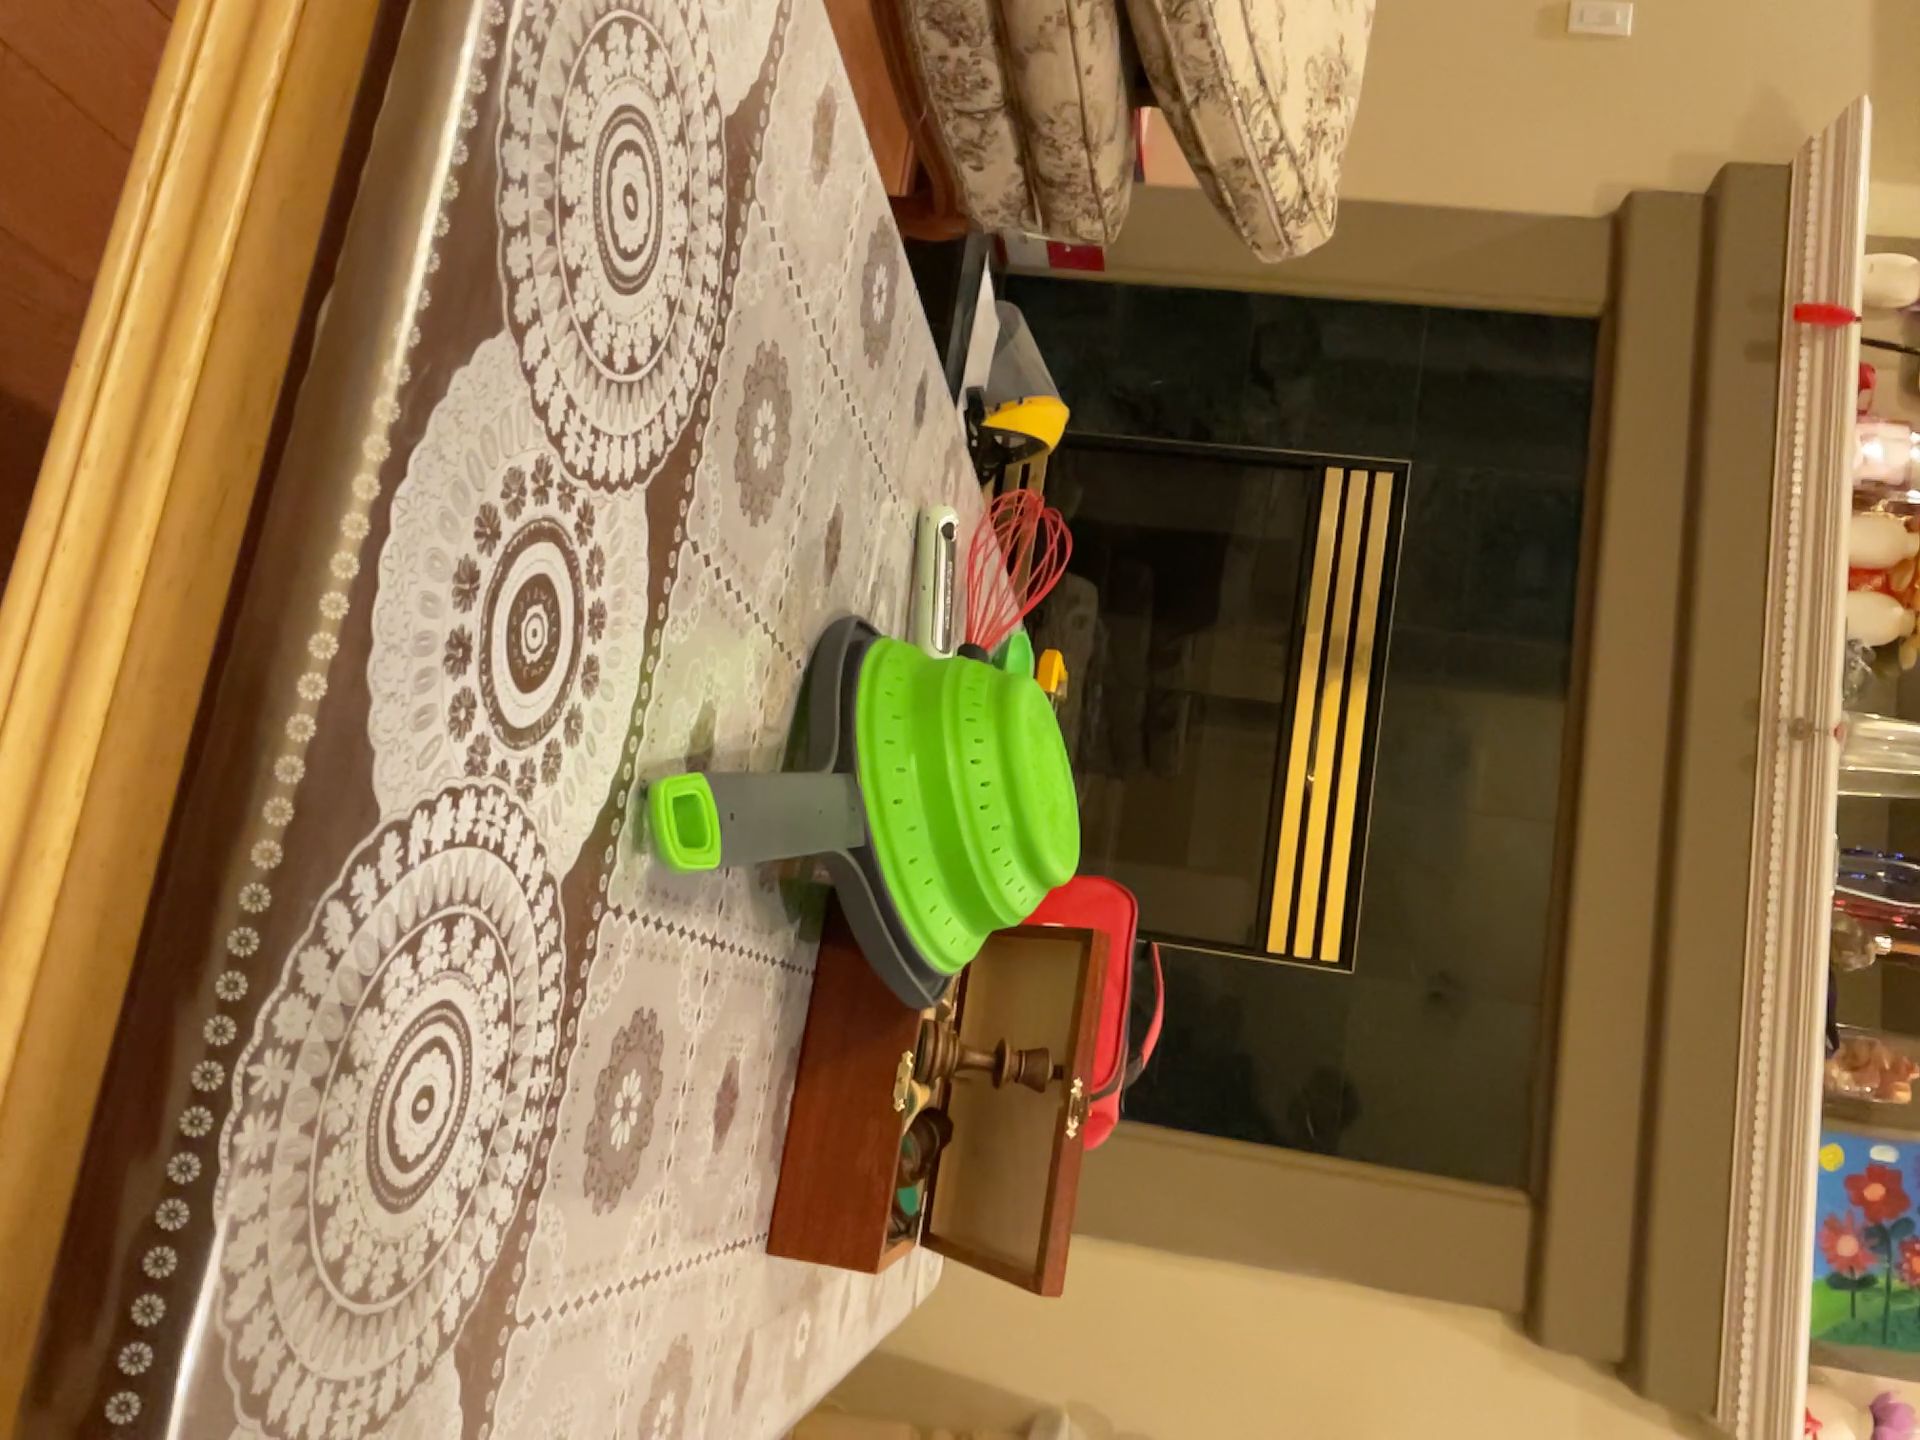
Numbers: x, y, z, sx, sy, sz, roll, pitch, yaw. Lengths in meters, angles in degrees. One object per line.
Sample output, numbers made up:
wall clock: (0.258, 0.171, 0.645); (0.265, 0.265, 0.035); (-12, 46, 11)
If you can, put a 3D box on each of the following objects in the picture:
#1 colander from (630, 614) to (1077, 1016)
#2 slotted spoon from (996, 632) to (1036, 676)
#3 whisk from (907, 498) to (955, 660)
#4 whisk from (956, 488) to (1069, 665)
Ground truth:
colander: (-0.021, 0.035, 0.716); (0.397, 0.094, 0.204); (8, 70, -74)
slotted spoon: (0.031, -0.029, 1.253); (0.314, 0.031, 0.070); (-40, 137, -80)
whisk: (-0.024, -0.012, 0.976); (0.058, 0.059, 0.246); (16, -76, 57)
whisk: (0.016, -0.059, 1.127); (0.073, 0.073, 0.296); (96, 13, -51)
